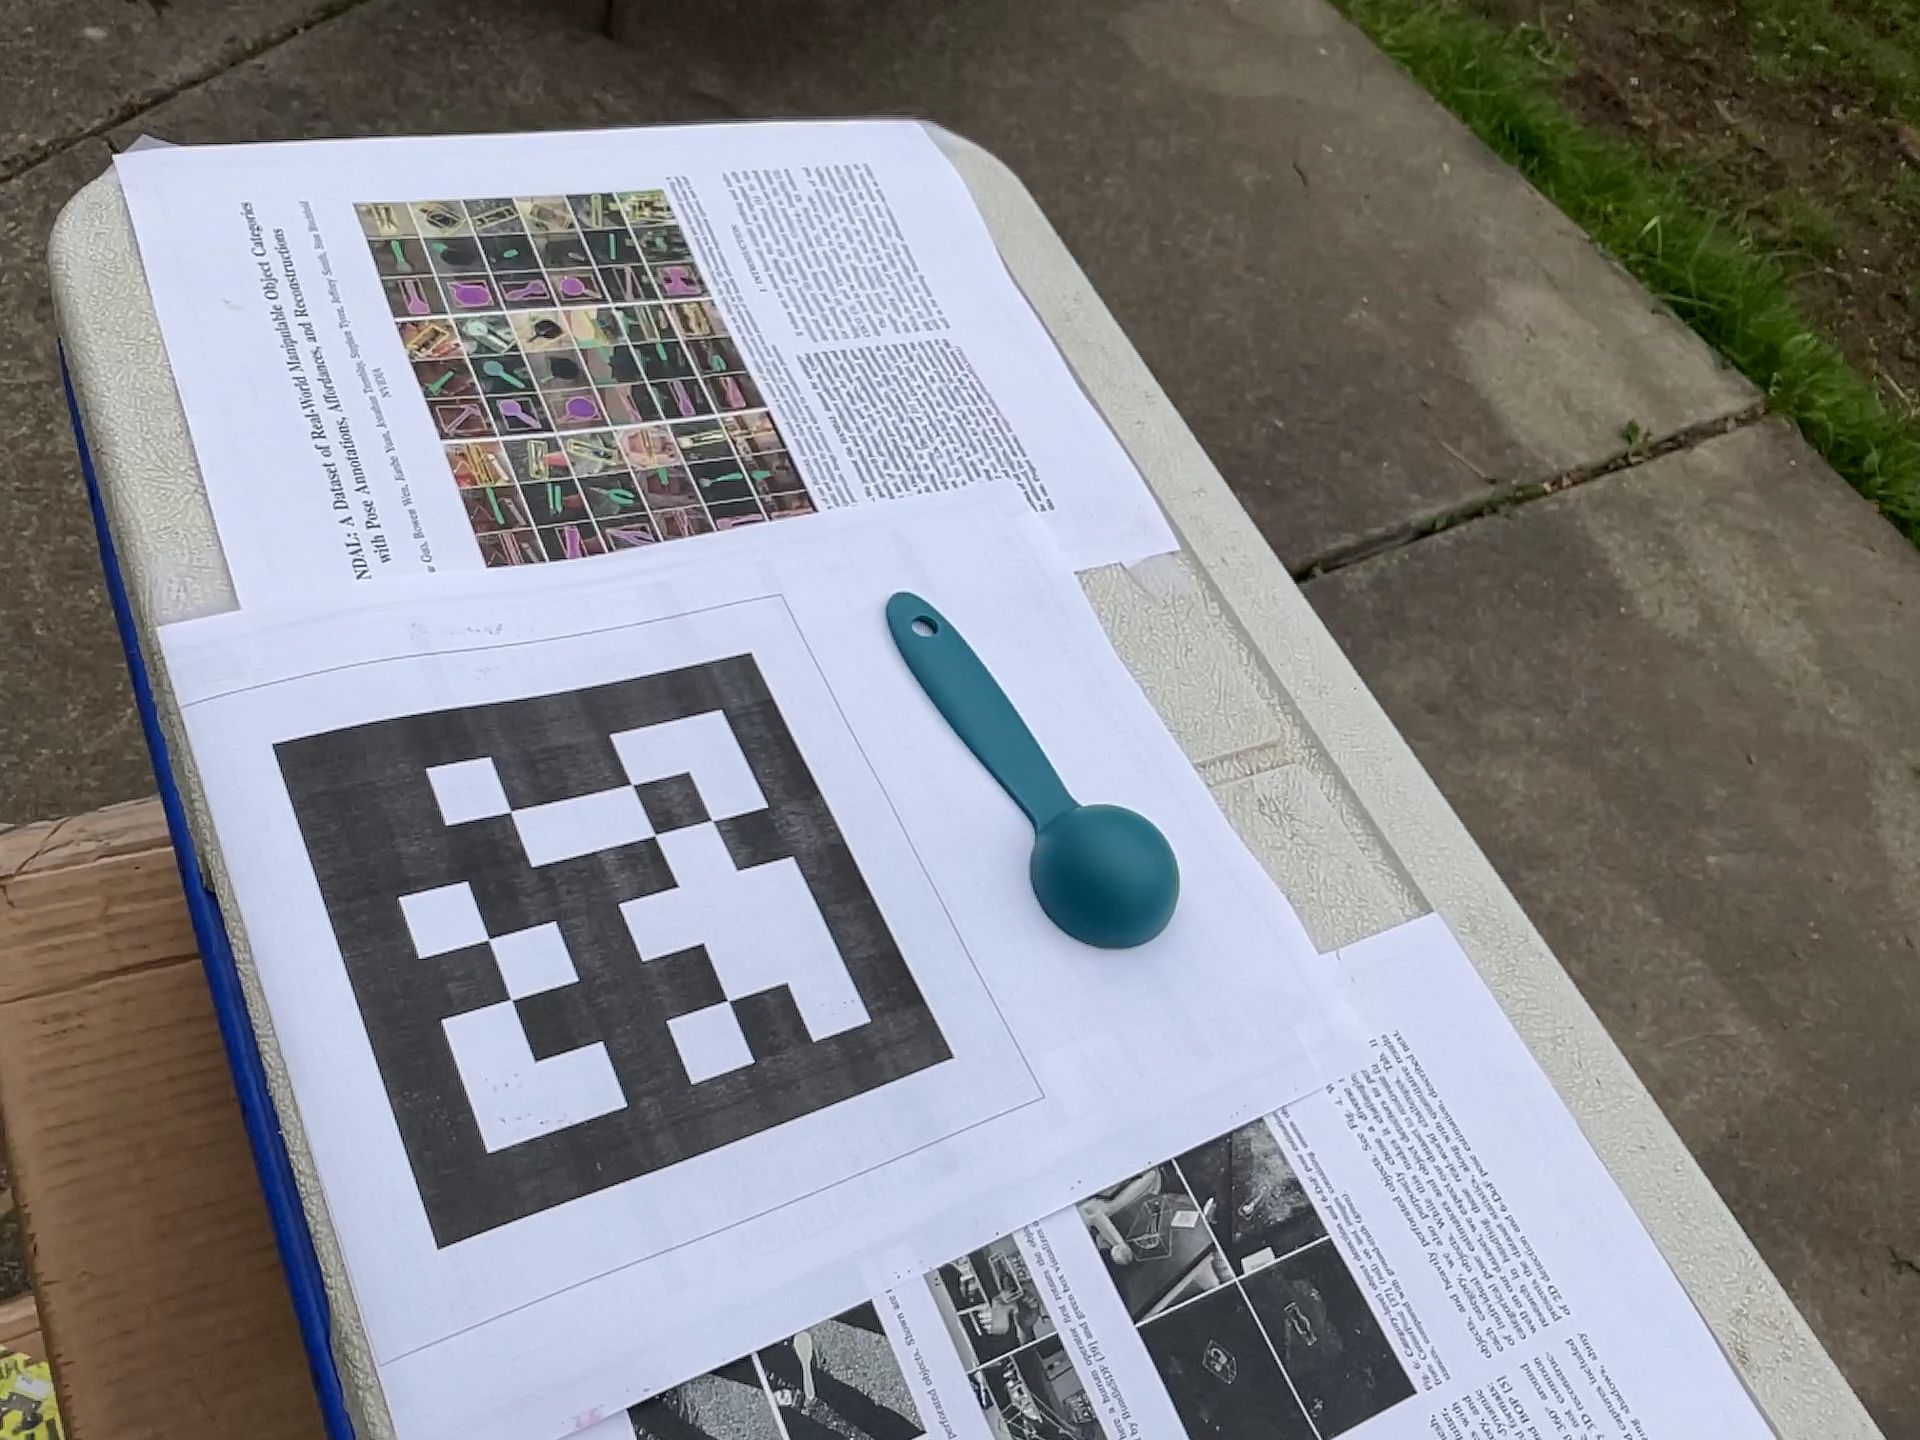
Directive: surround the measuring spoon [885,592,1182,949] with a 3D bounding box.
[{"bbox_3d":[0.018,0.007,0.450,0.042,0.021,0.129,-25,66,-27],"label":"measuring spoon"}]
